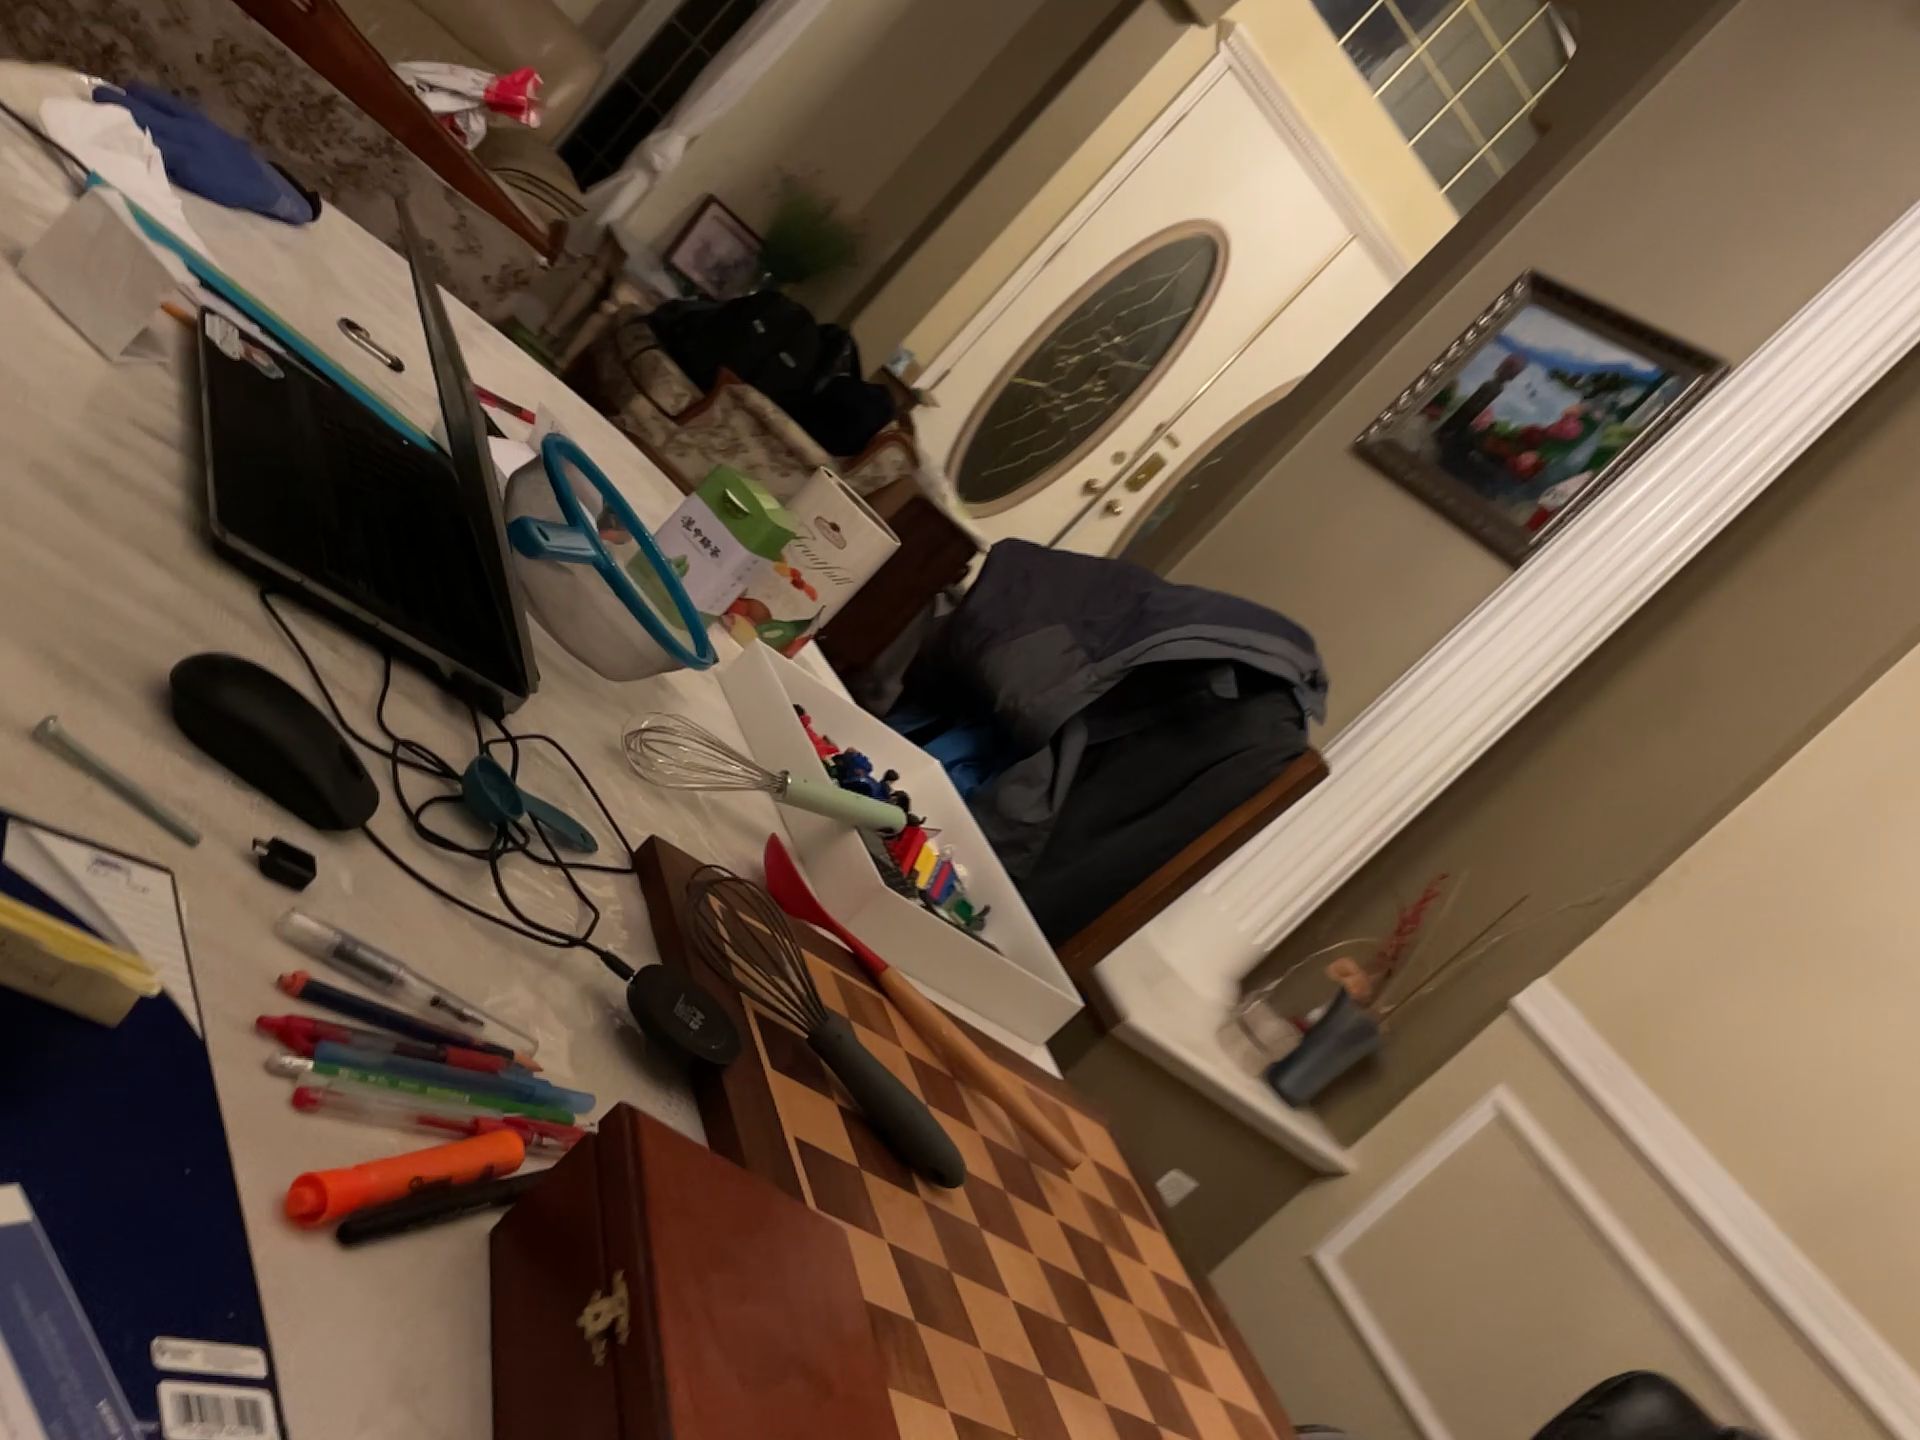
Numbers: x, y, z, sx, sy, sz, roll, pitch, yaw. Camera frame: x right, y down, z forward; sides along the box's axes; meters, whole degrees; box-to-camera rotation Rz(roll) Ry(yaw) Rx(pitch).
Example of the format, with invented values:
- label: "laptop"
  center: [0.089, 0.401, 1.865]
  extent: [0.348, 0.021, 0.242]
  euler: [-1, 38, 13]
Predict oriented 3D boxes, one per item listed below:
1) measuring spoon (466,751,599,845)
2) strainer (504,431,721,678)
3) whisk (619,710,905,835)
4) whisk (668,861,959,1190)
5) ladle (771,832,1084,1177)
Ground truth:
- label: "measuring spoon"
  center: [-0.248, 0.055, 0.920]
  extent: [0.042, 0.021, 0.128]
  euler: [59, 3, 27]
- label: "strainer"
  center: [-0.286, -0.102, 1.137]
  extent: [0.211, 0.095, 0.340]
  euler: [58, 5, -1]
- label: "whisk"
  center: [-0.141, 0.045, 1.174]
  extent: [0.246, 0.058, 0.059]
  euler: [20, 53, -35]
- label: "whisk"
  center: [-0.083, 0.179, 0.920]
  extent: [0.239, 0.055, 0.055]
  euler: [49, 24, 2]
- label: "ladle"
  center: [-0.031, 0.195, 1.094]
  extent: [0.316, 0.031, 0.069]
  euler: [43, -13, 18]
